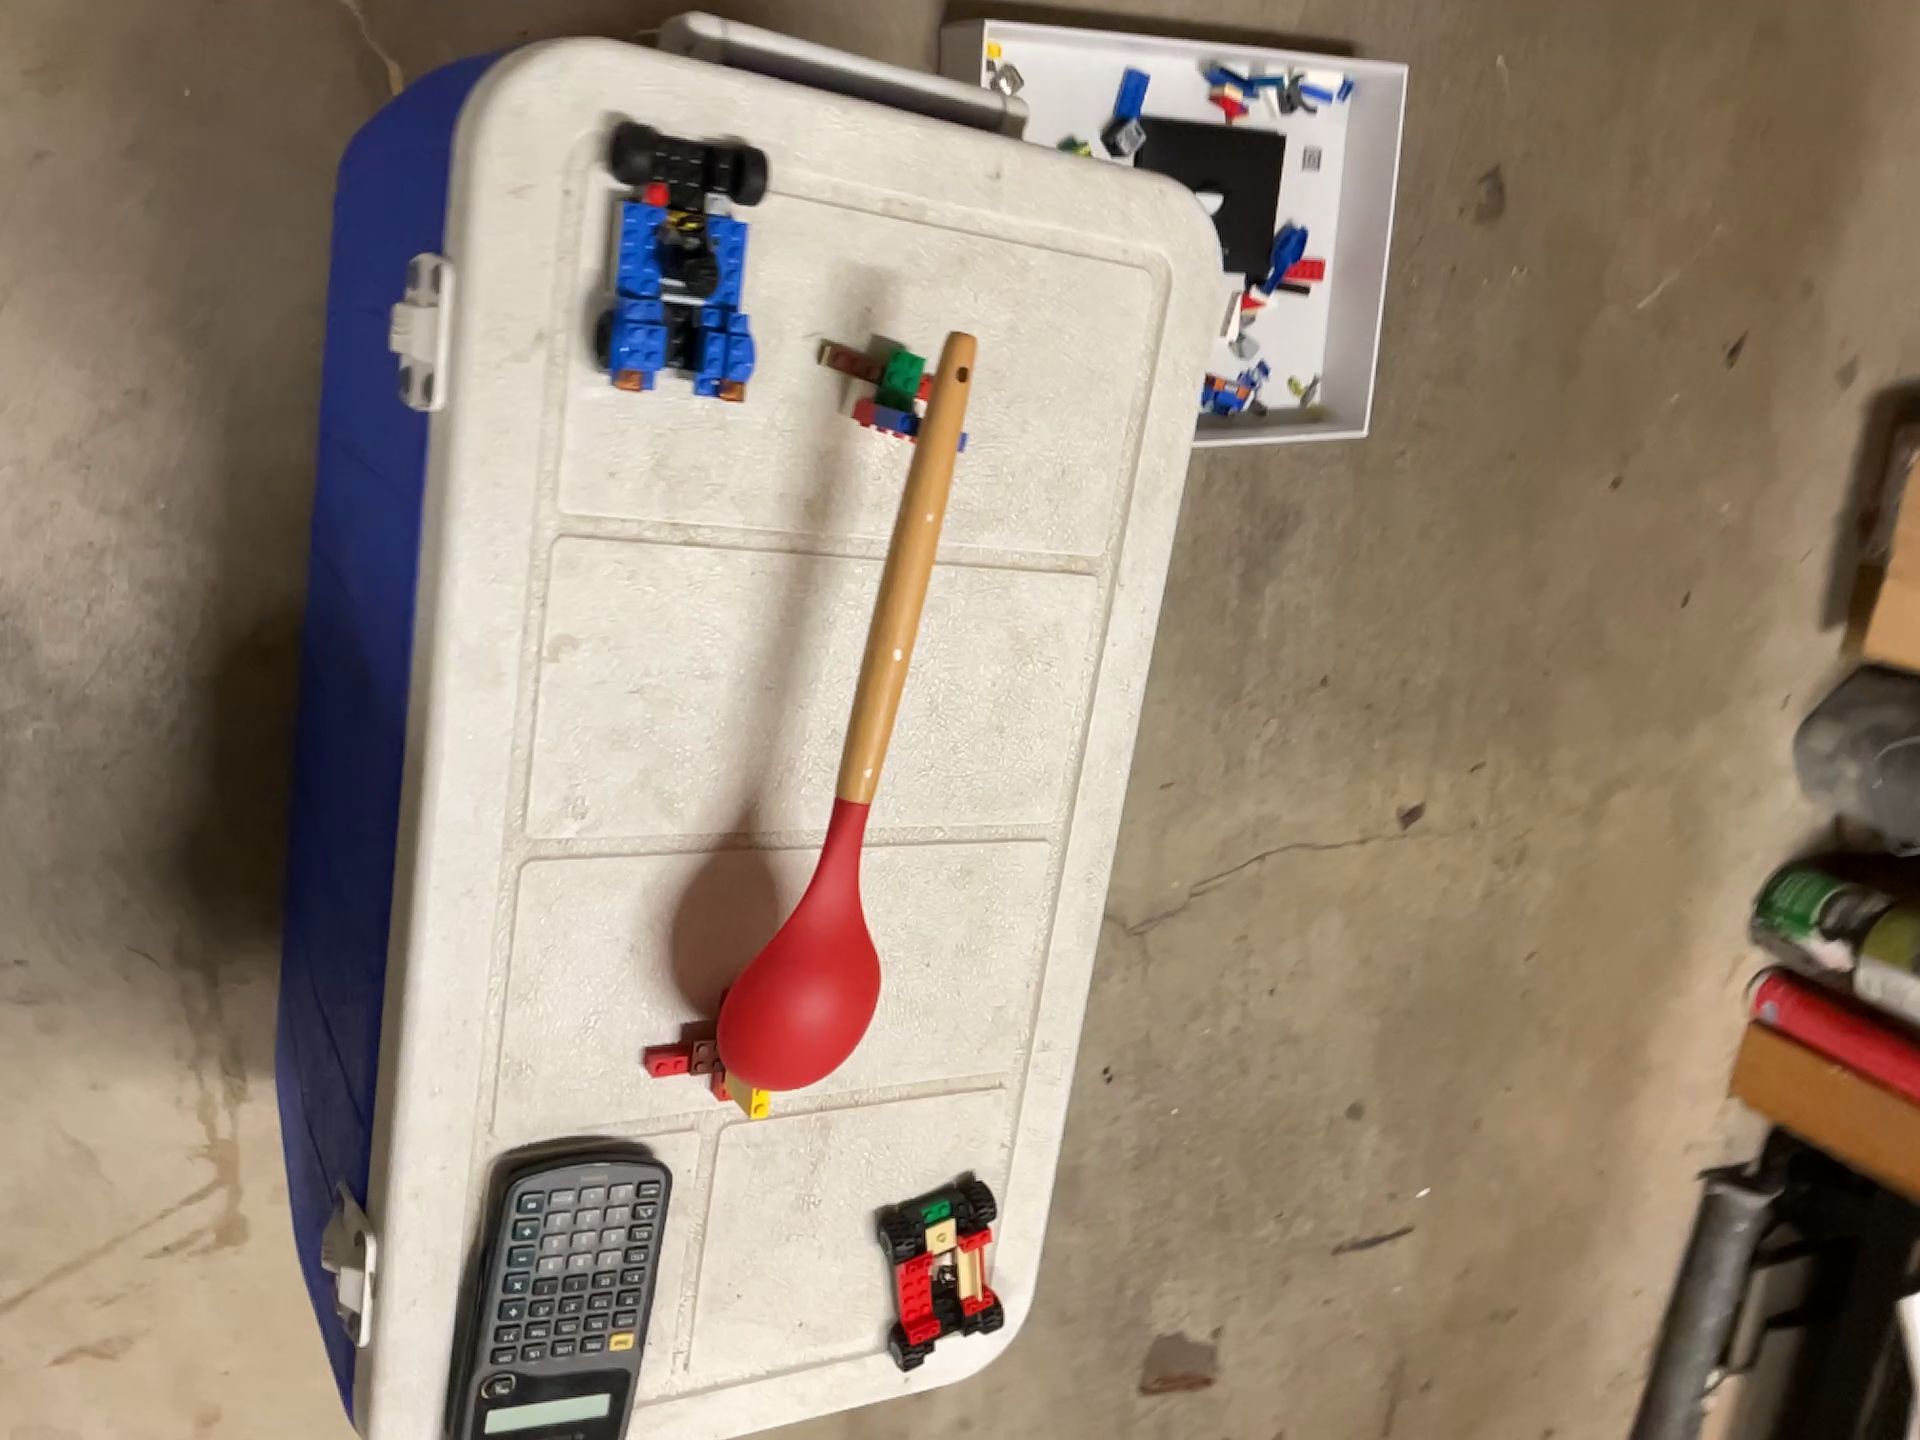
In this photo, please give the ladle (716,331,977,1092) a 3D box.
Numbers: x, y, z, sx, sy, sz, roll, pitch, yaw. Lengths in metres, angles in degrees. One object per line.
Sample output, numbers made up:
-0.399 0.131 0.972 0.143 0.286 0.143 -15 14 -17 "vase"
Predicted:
-0.036 0.006 0.624 0.069 0.031 0.315 7 102 -33 "ladle"
